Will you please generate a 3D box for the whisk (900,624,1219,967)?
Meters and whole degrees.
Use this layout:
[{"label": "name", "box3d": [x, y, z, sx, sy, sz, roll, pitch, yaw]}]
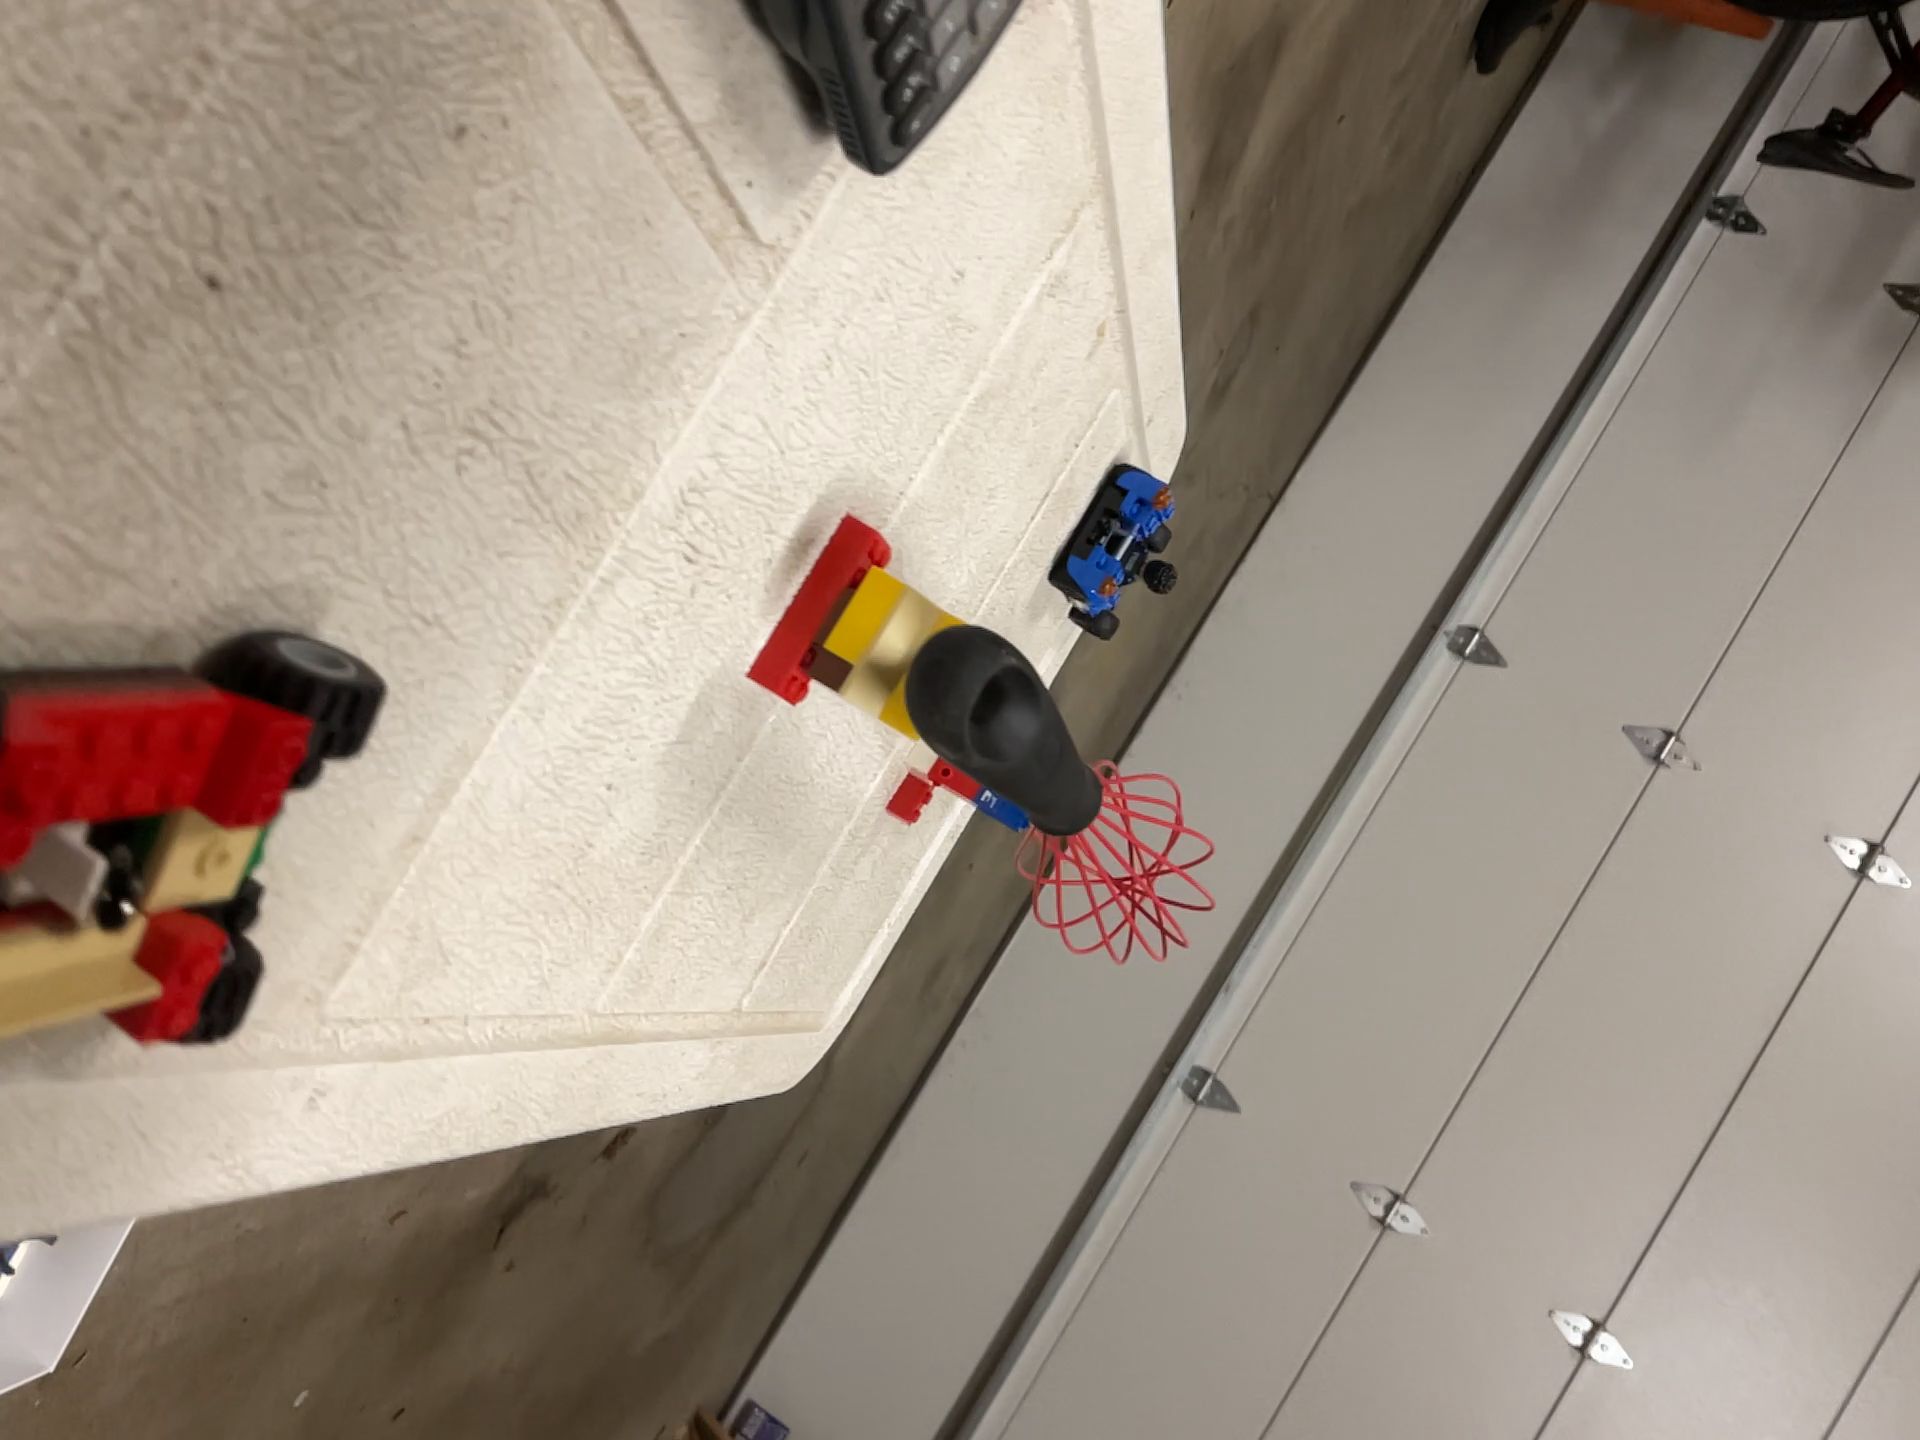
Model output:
[{"label": "whisk", "box3d": [0.035, 0.028, 0.489, 0.073, 0.073, 0.295, -55, 158, -5]}]
